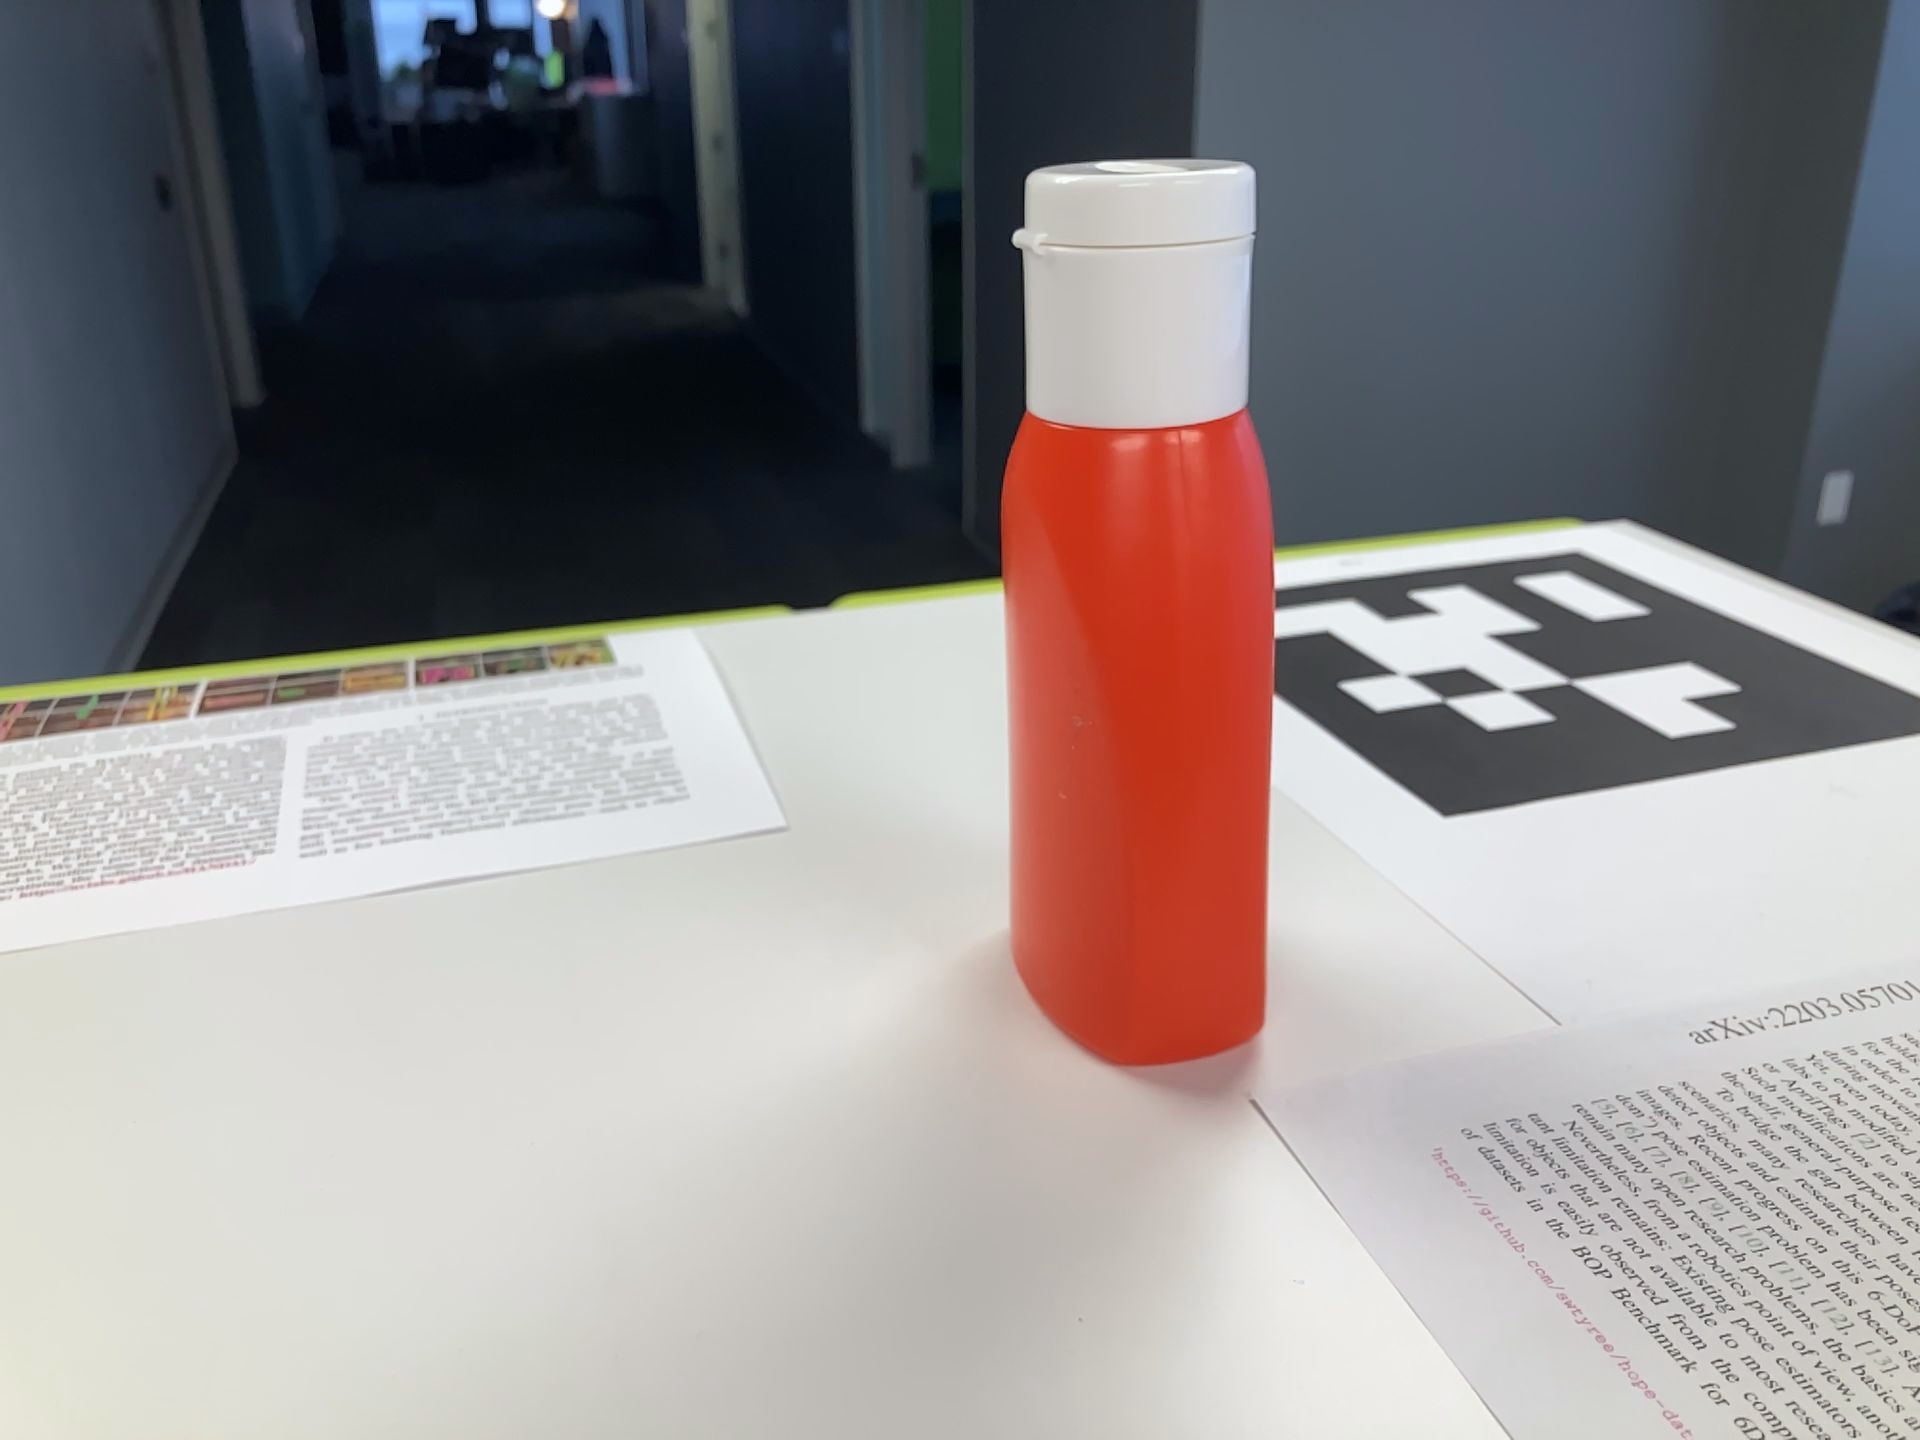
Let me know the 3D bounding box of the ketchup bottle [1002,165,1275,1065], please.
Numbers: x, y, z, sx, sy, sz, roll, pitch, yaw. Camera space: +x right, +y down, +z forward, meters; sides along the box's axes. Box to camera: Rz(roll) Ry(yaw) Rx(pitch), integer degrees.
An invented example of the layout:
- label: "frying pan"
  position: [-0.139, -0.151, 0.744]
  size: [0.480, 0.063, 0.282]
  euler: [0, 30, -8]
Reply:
- label: "ketchup bottle"
  position: [0.030, -0.018, 0.280]
  size: [0.043, 0.149, 0.065]
  euler: [-9, 23, -14]
